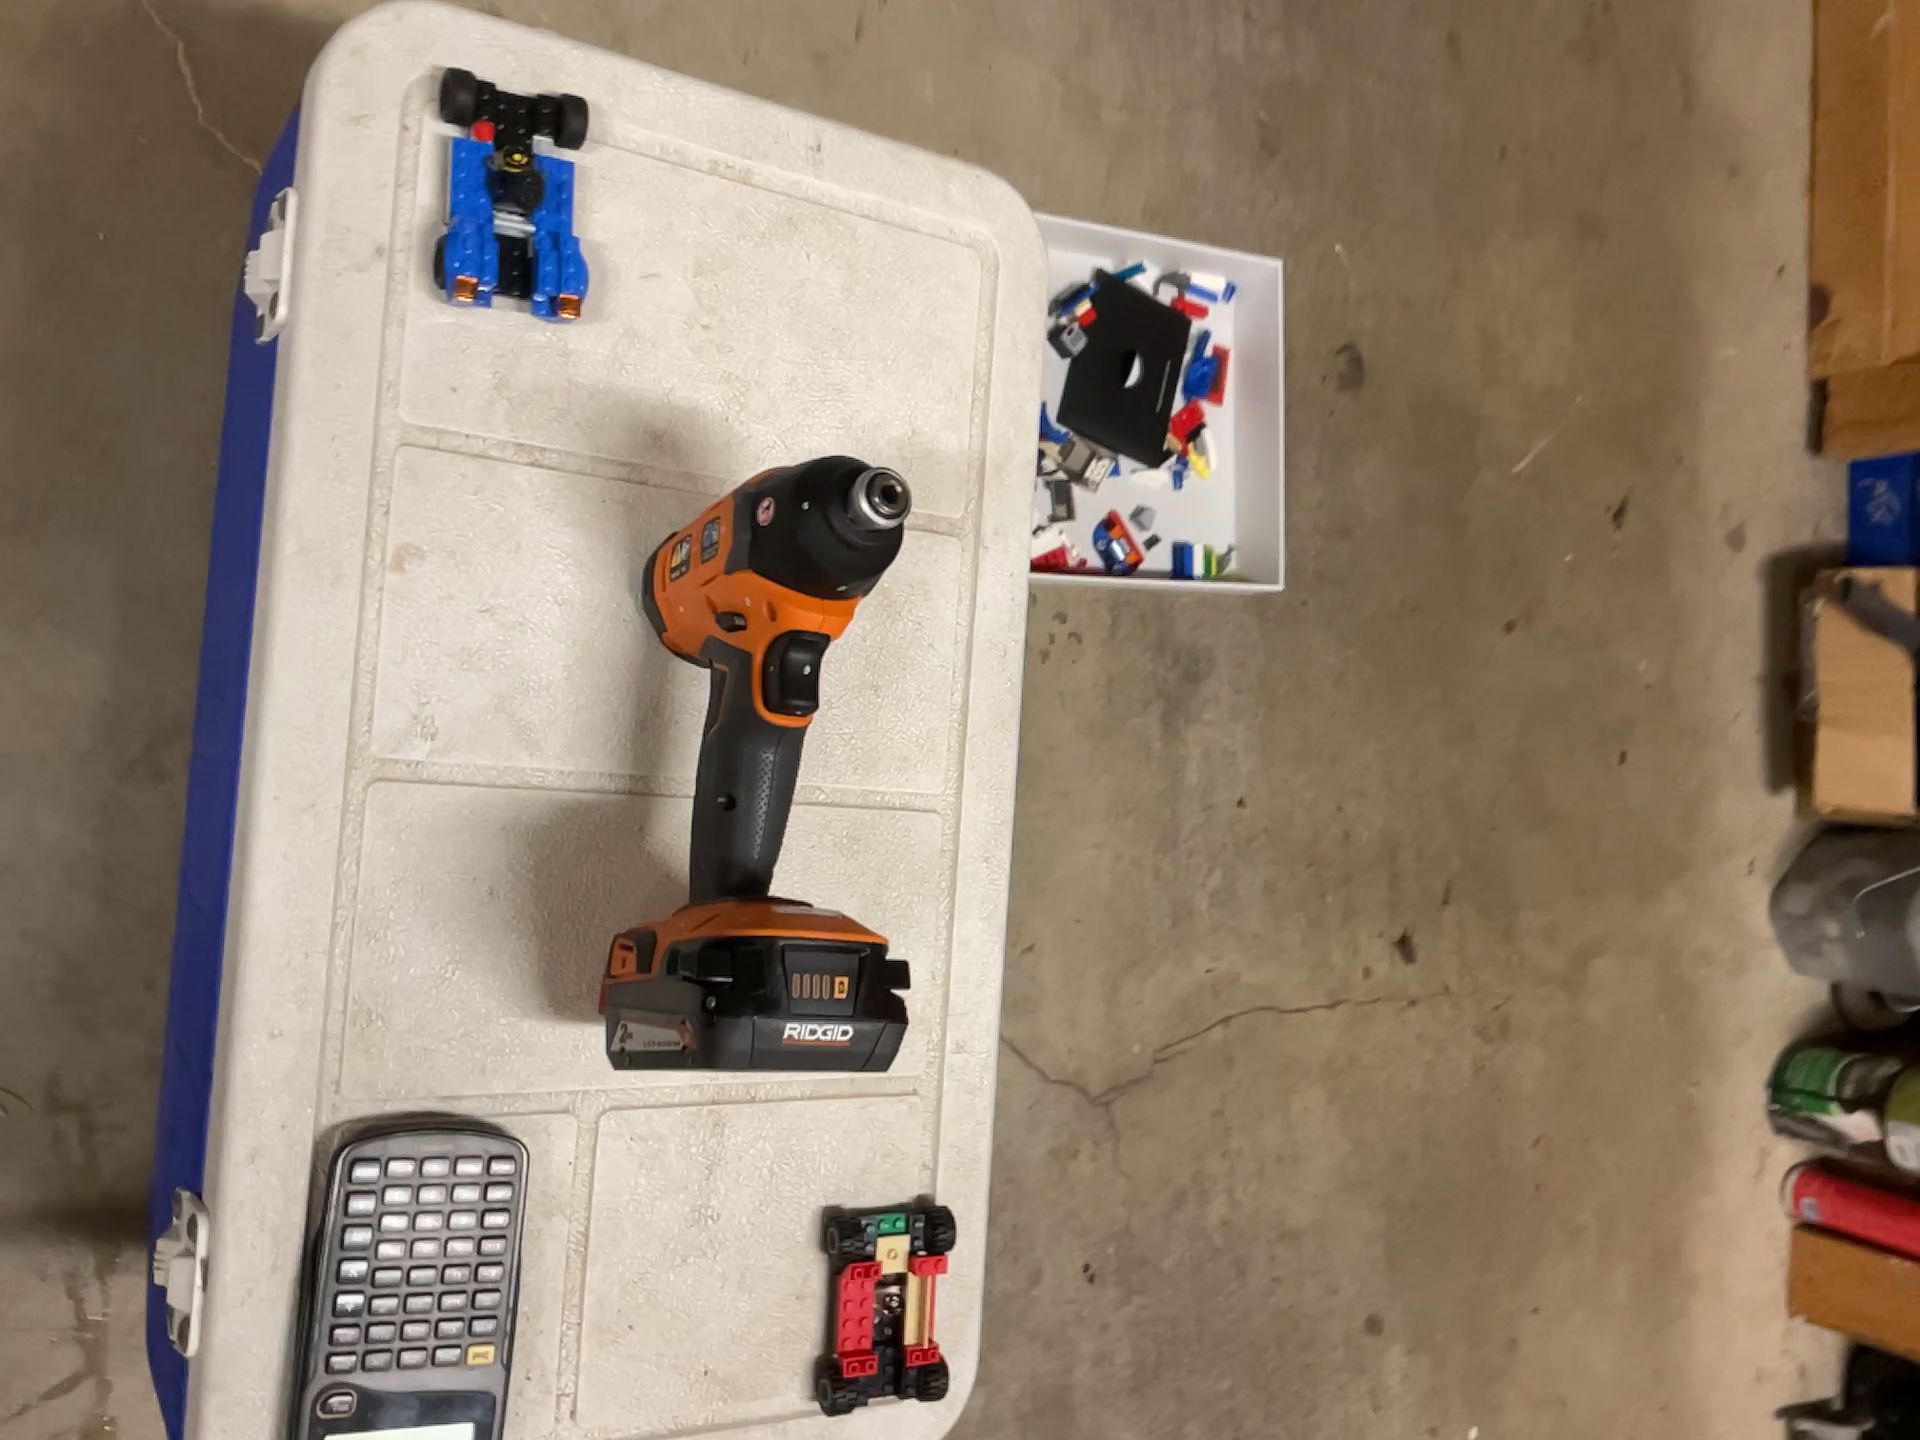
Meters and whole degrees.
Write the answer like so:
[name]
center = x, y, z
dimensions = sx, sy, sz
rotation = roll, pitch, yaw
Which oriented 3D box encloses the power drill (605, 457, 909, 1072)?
[power drill]
center = -0.070, 0.015, 0.599
dimensions = 0.084, 0.164, 0.226
rotation = 9, 74, -31
